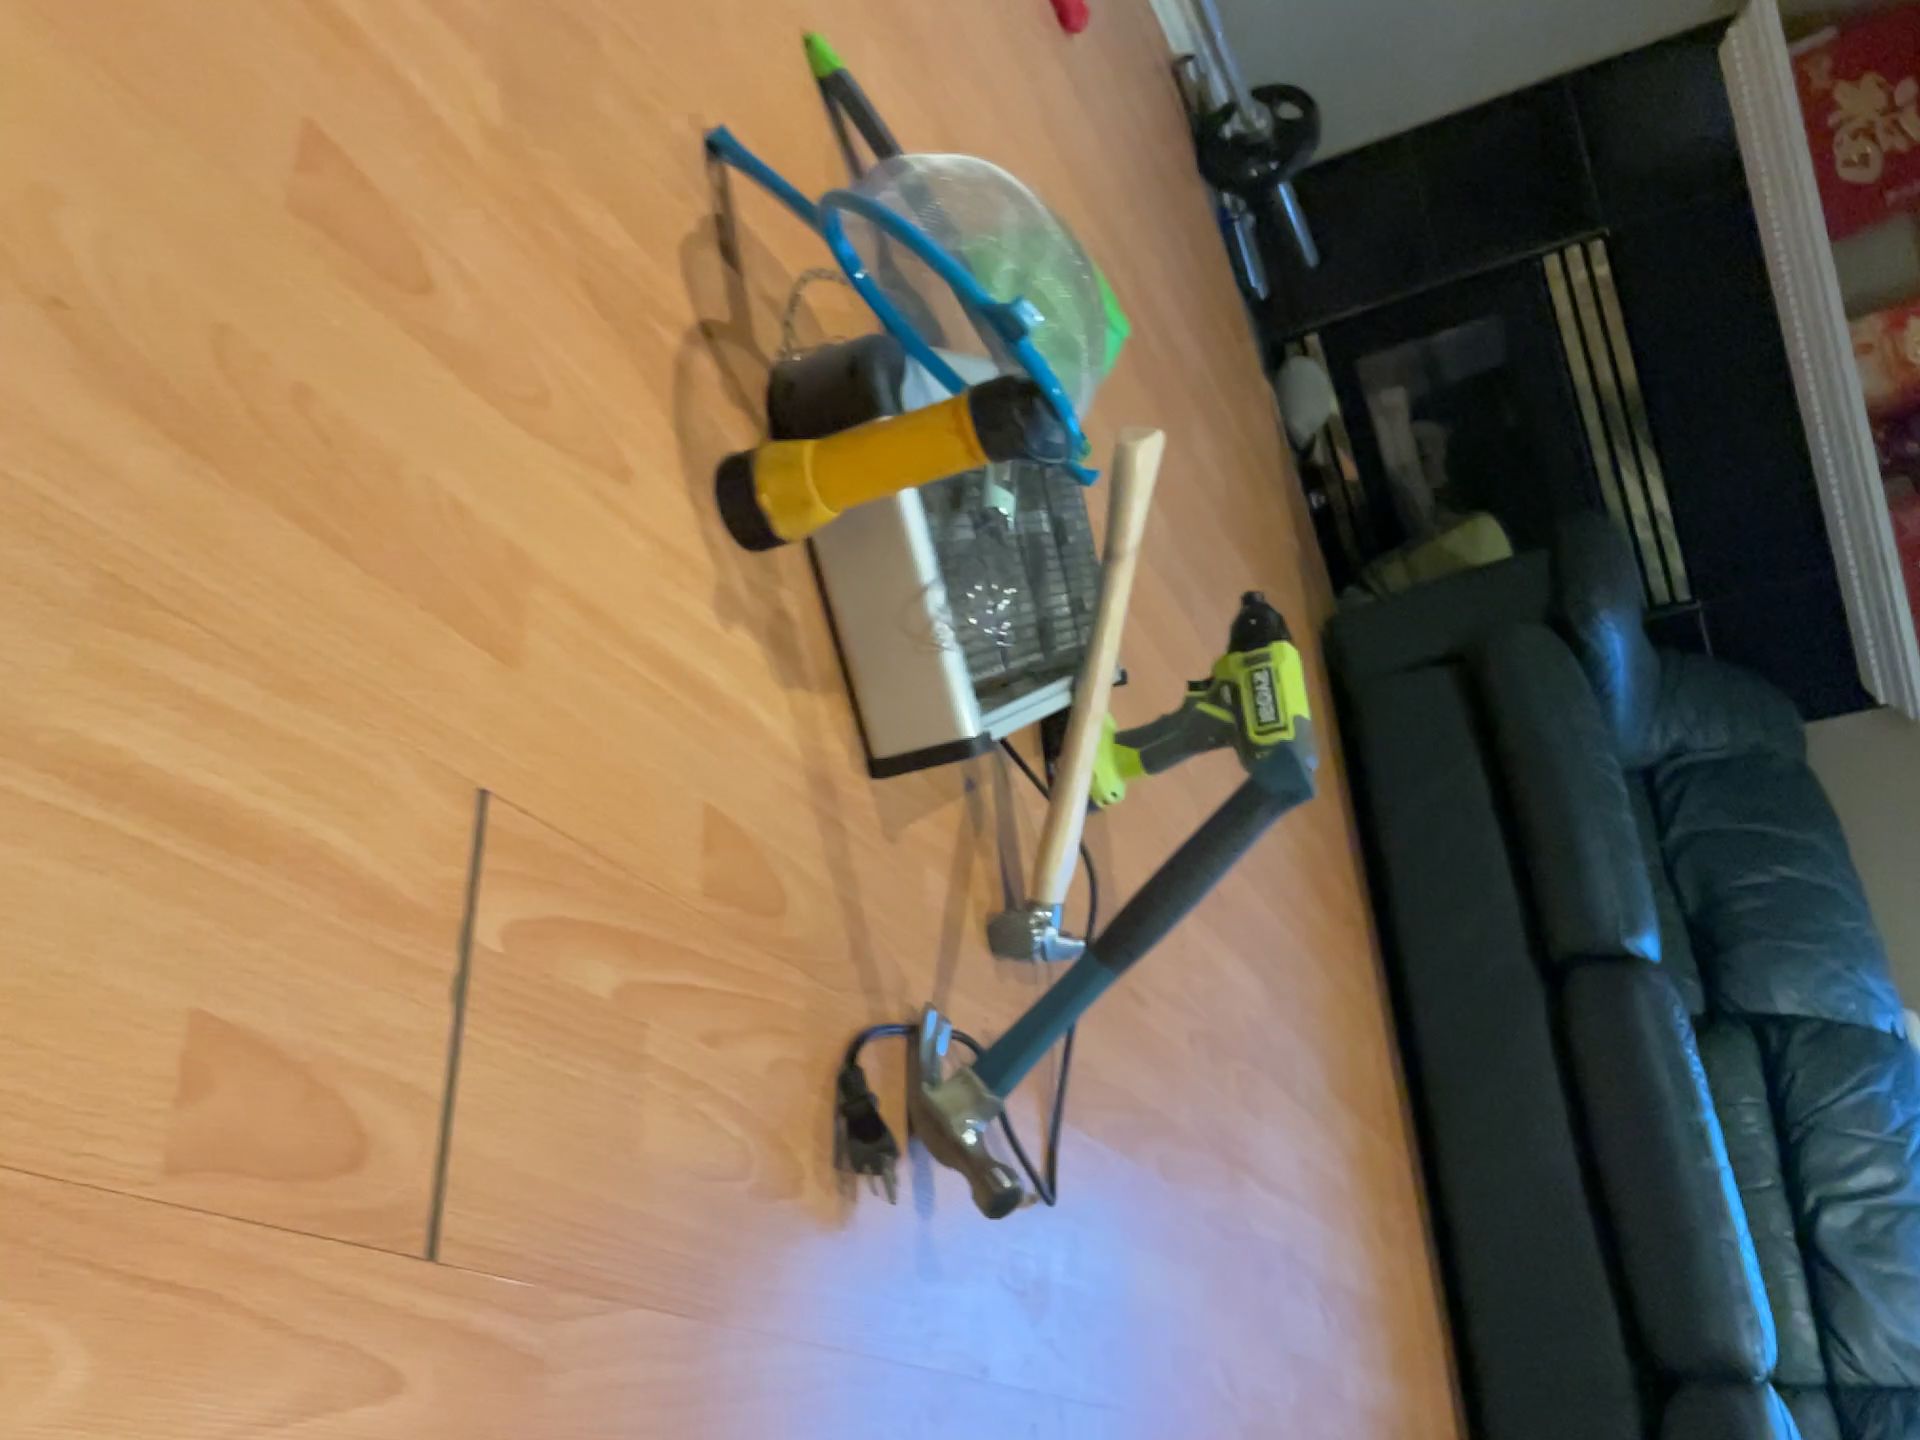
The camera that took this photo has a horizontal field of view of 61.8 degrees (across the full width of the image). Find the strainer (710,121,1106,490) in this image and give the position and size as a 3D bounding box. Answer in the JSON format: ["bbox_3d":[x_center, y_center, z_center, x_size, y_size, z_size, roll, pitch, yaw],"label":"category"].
[{"bbox_3d":[-0.023,-0.299,0.983,0.340,0.095,0.211,45,-3,25],"label":"strainer"}]

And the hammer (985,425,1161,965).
[{"bbox_3d":[0.101,-0.018,1.221,0.146,0.038,0.410,16,85,-65],"label":"hammer"}]

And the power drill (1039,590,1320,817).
[{"bbox_3d":[0.185,-0.011,1.379,0.080,0.223,0.171,40,40,-57],"label":"power drill"}]

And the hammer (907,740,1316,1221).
[{"bbox_3d":[0.097,0.141,0.978,0.128,0.331,0.033,40,-7,42],"label":"hammer"}]

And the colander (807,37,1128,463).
[{"bbox_3d":[0.023,-0.394,1.282,0.397,0.094,0.204,55,17,-6],"label":"colander"}]

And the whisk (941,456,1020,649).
[{"bbox_3d":[0.021,-0.128,1.070,0.058,0.059,0.246,31,36,-19],"label":"whisk"}]
